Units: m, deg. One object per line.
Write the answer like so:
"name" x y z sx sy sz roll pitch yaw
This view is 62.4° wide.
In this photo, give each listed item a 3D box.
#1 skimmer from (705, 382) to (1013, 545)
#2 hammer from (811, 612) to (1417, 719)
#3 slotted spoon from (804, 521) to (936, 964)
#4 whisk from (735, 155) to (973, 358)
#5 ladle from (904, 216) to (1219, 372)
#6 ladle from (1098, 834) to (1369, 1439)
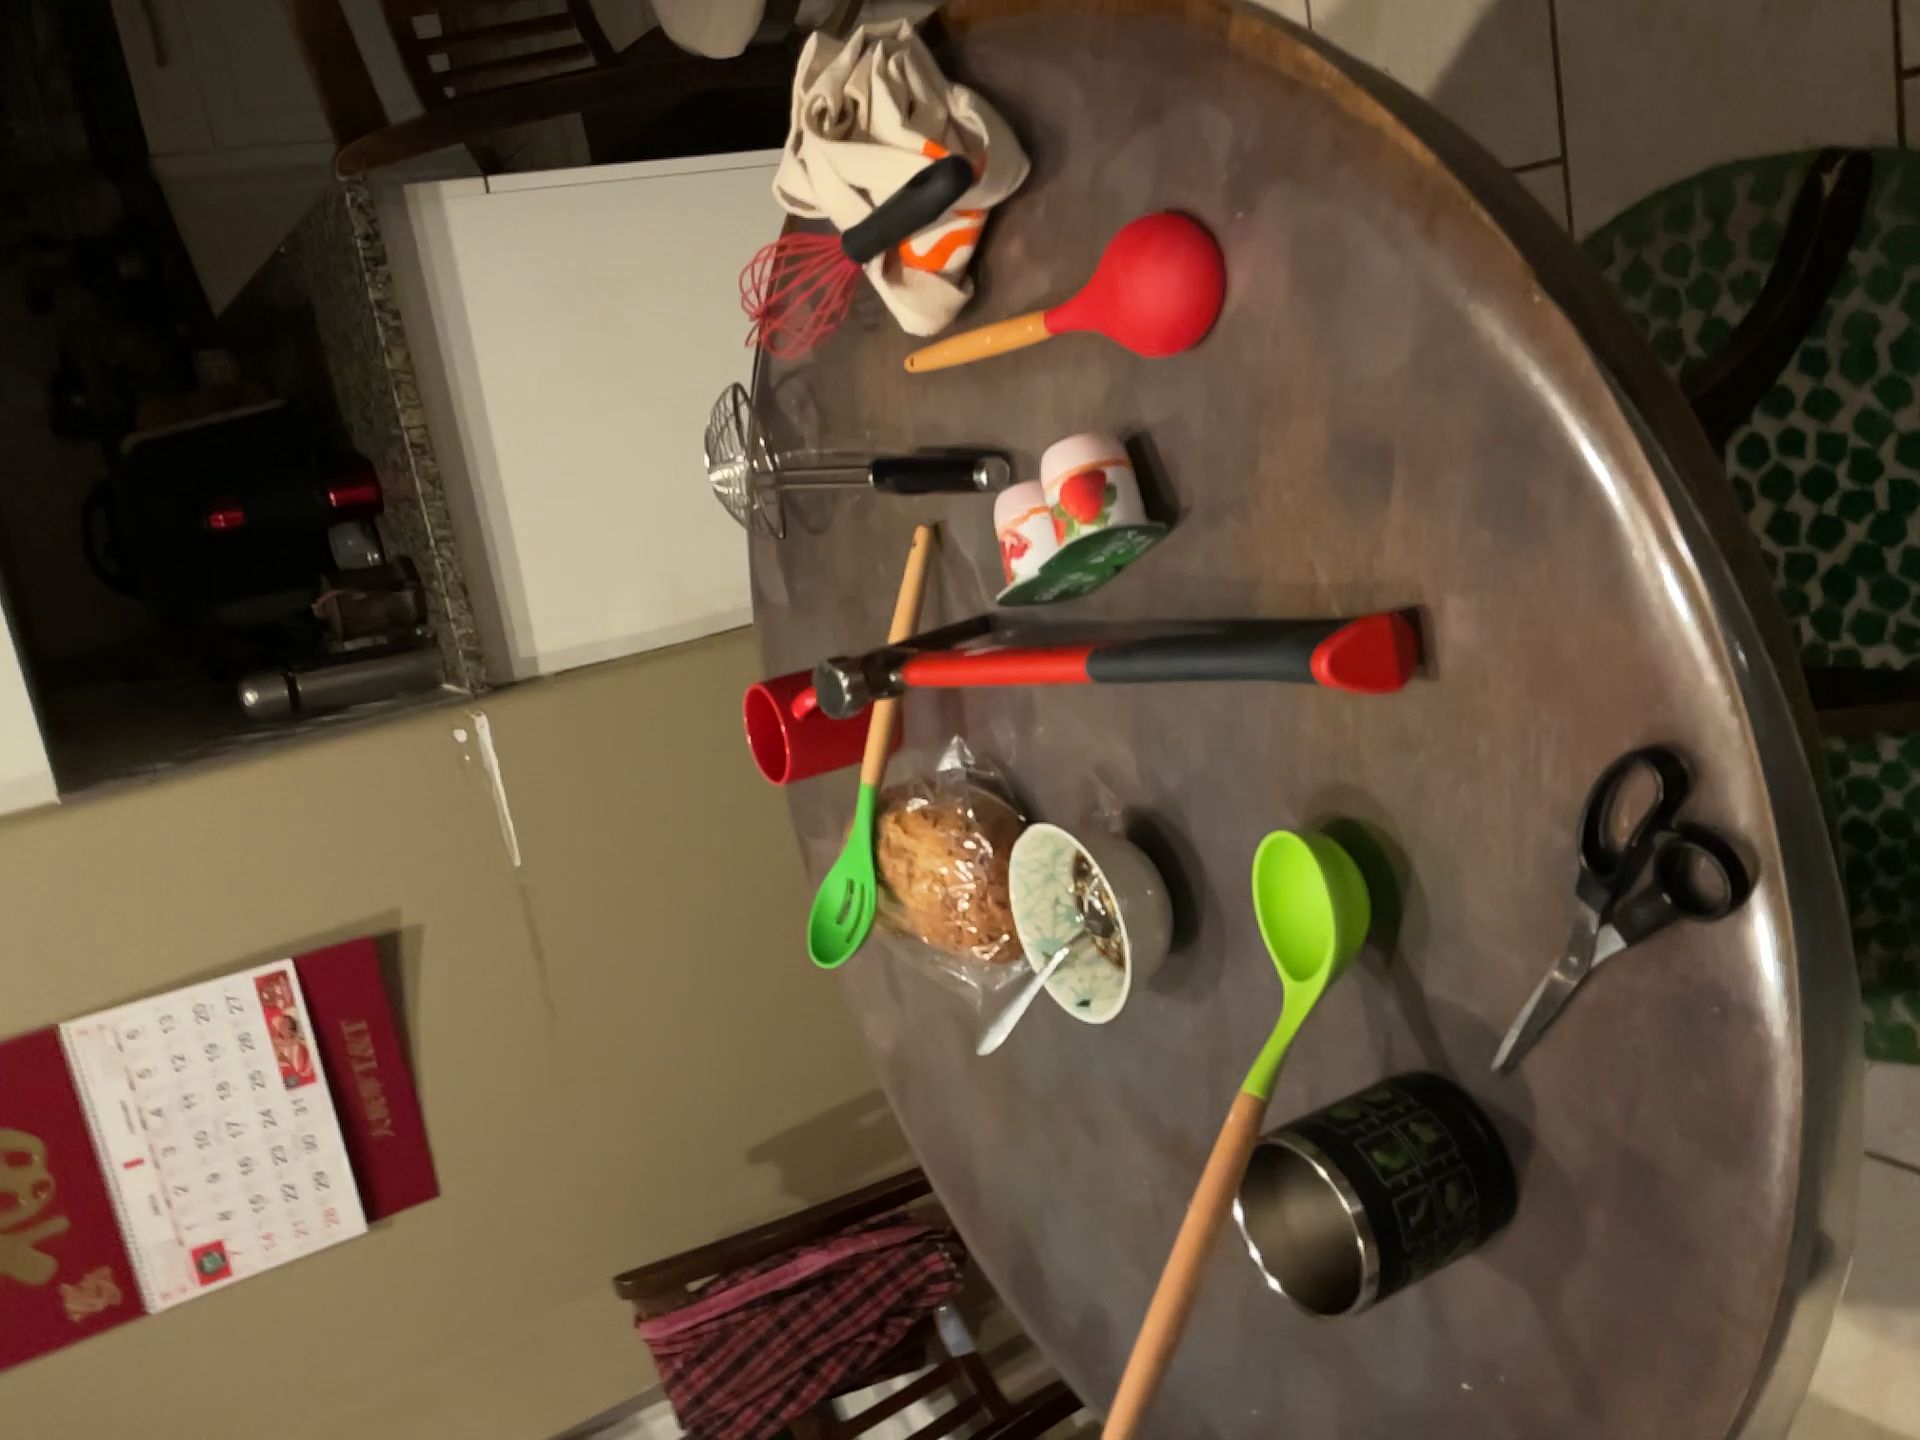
"skimmer" -0.072 -0.183 1.128 0.364 0.090 0.127 9 121 48
"hammer" 0.085 -0.036 0.872 0.387 0.143 0.038 1 106 49
"slotted spoon" -0.056 0.017 1.096 0.070 0.031 0.314 20 99 52
"whisk" -0.070 -0.284 0.969 0.296 0.073 0.073 -6 98 61
"ladle" 0.040 -0.225 0.905 0.316 0.031 0.069 8 111 62
"ladle" 0.118 0.201 0.752 0.062 0.320 0.078 29 162 -6
